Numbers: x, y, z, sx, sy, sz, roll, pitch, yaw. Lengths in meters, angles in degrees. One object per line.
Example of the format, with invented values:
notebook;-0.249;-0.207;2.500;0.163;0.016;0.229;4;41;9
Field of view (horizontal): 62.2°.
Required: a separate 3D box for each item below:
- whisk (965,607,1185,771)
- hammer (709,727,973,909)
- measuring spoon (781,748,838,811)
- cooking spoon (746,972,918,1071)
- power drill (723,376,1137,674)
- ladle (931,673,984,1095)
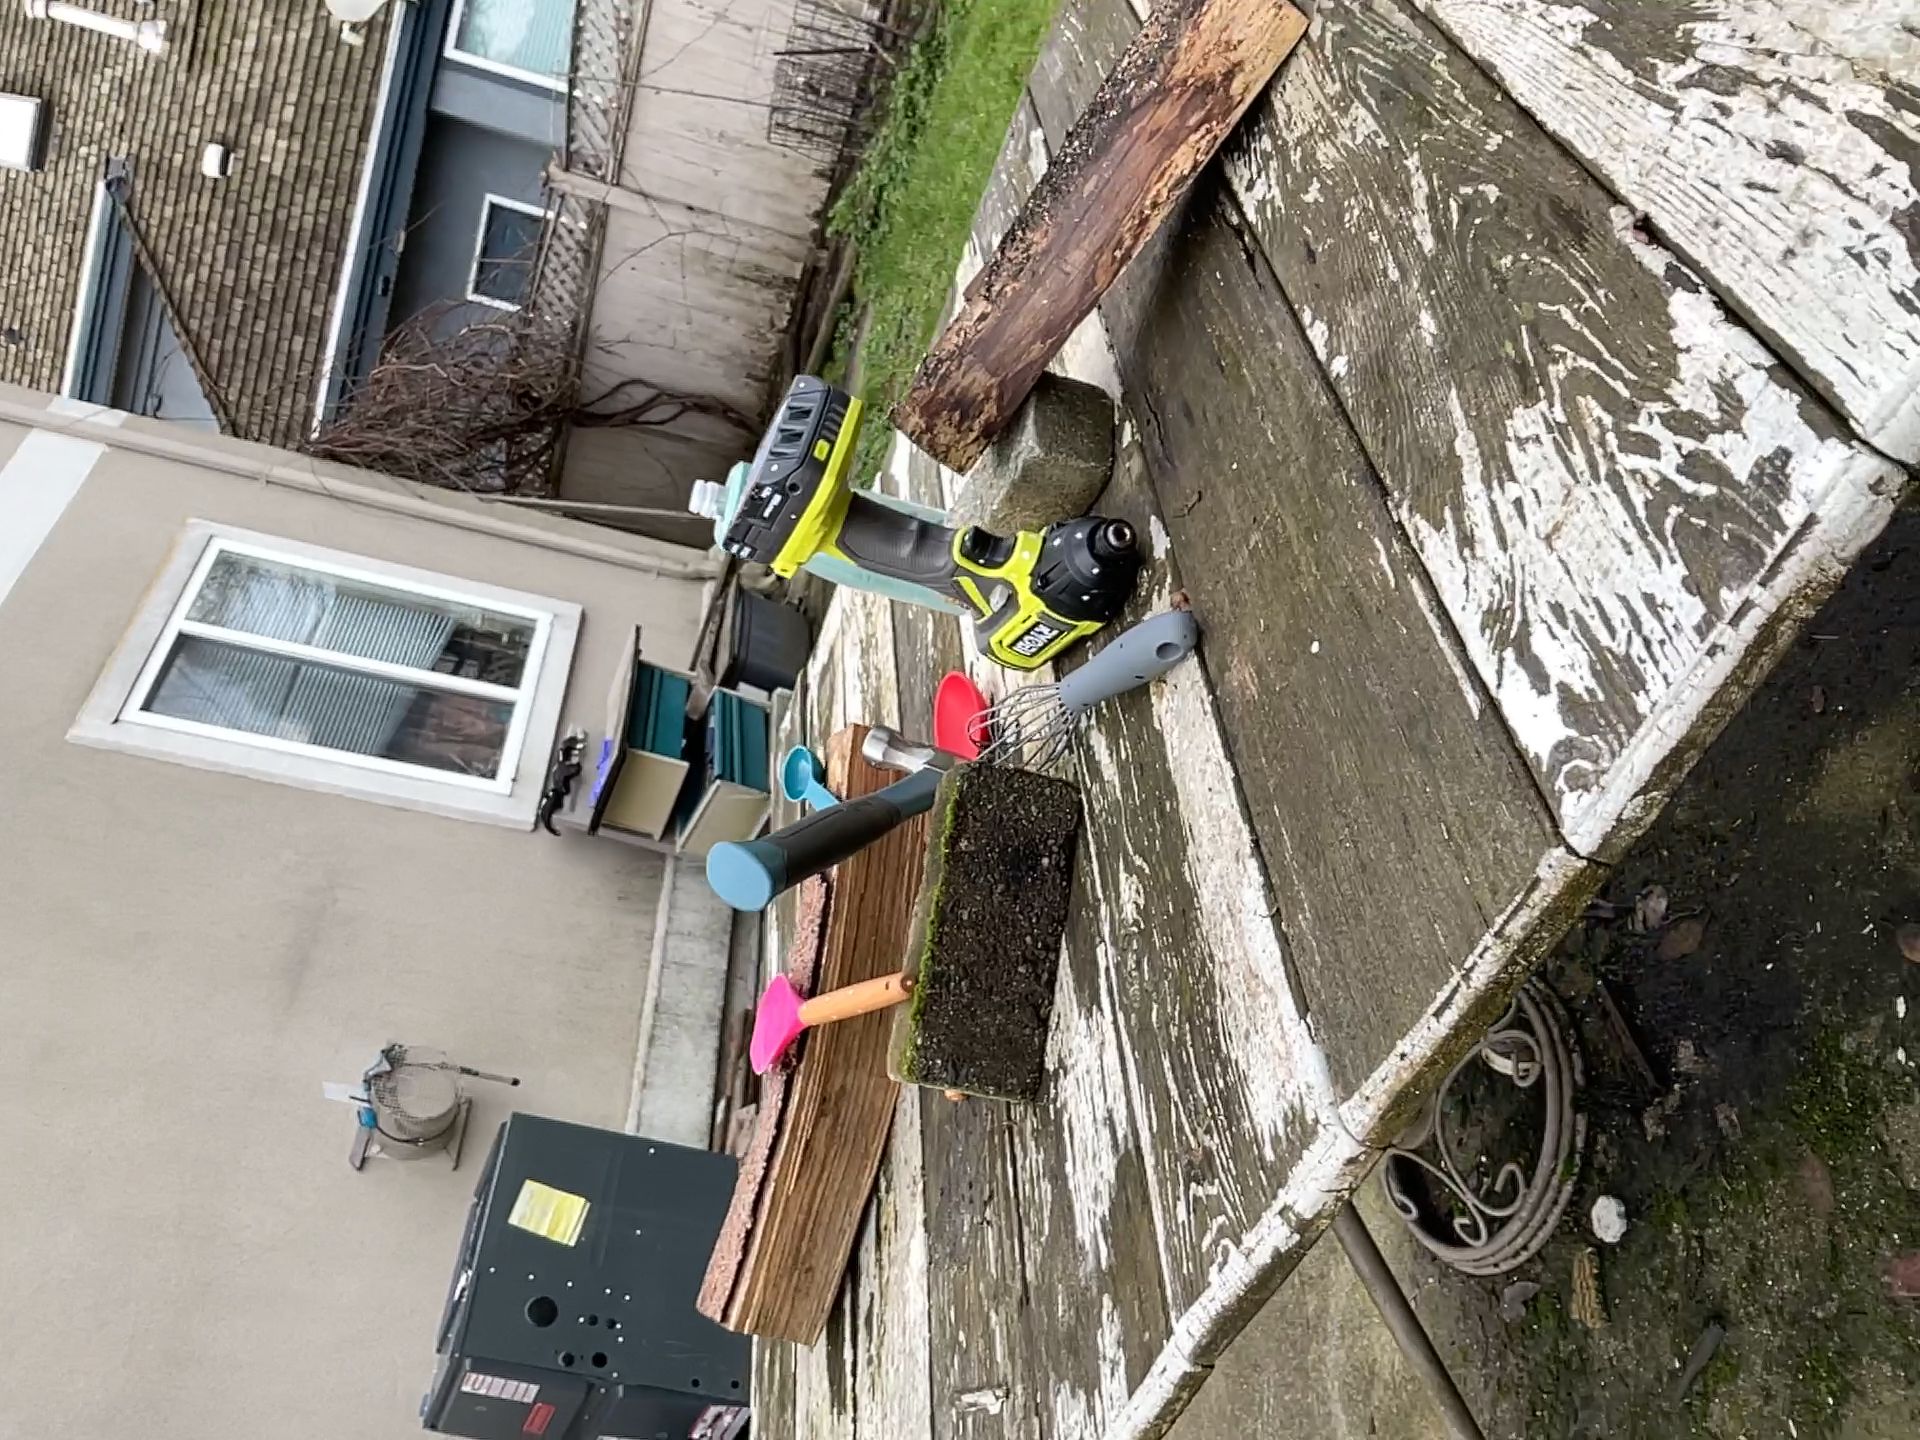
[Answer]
whisk;0.062;-0.015;0.898;0.239;0.055;0.055;142;132;-62
hammer;-0.054;0.057;0.931;0.331;0.128;0.033;-20;-53;-69
measuring spoon;-0.094;0.060;1.161;0.129;0.021;0.042;40;116;50
cooking spoon;-0.090;0.186;1.018;0.319;0.017;0.069;148;135;-63
power drill;-0.014;-0.110;0.942;0.171;0.223;0.080;140;149;-64
ladle;-0.001;0.102;1.082;0.069;0.031;0.316;126;152;-49
